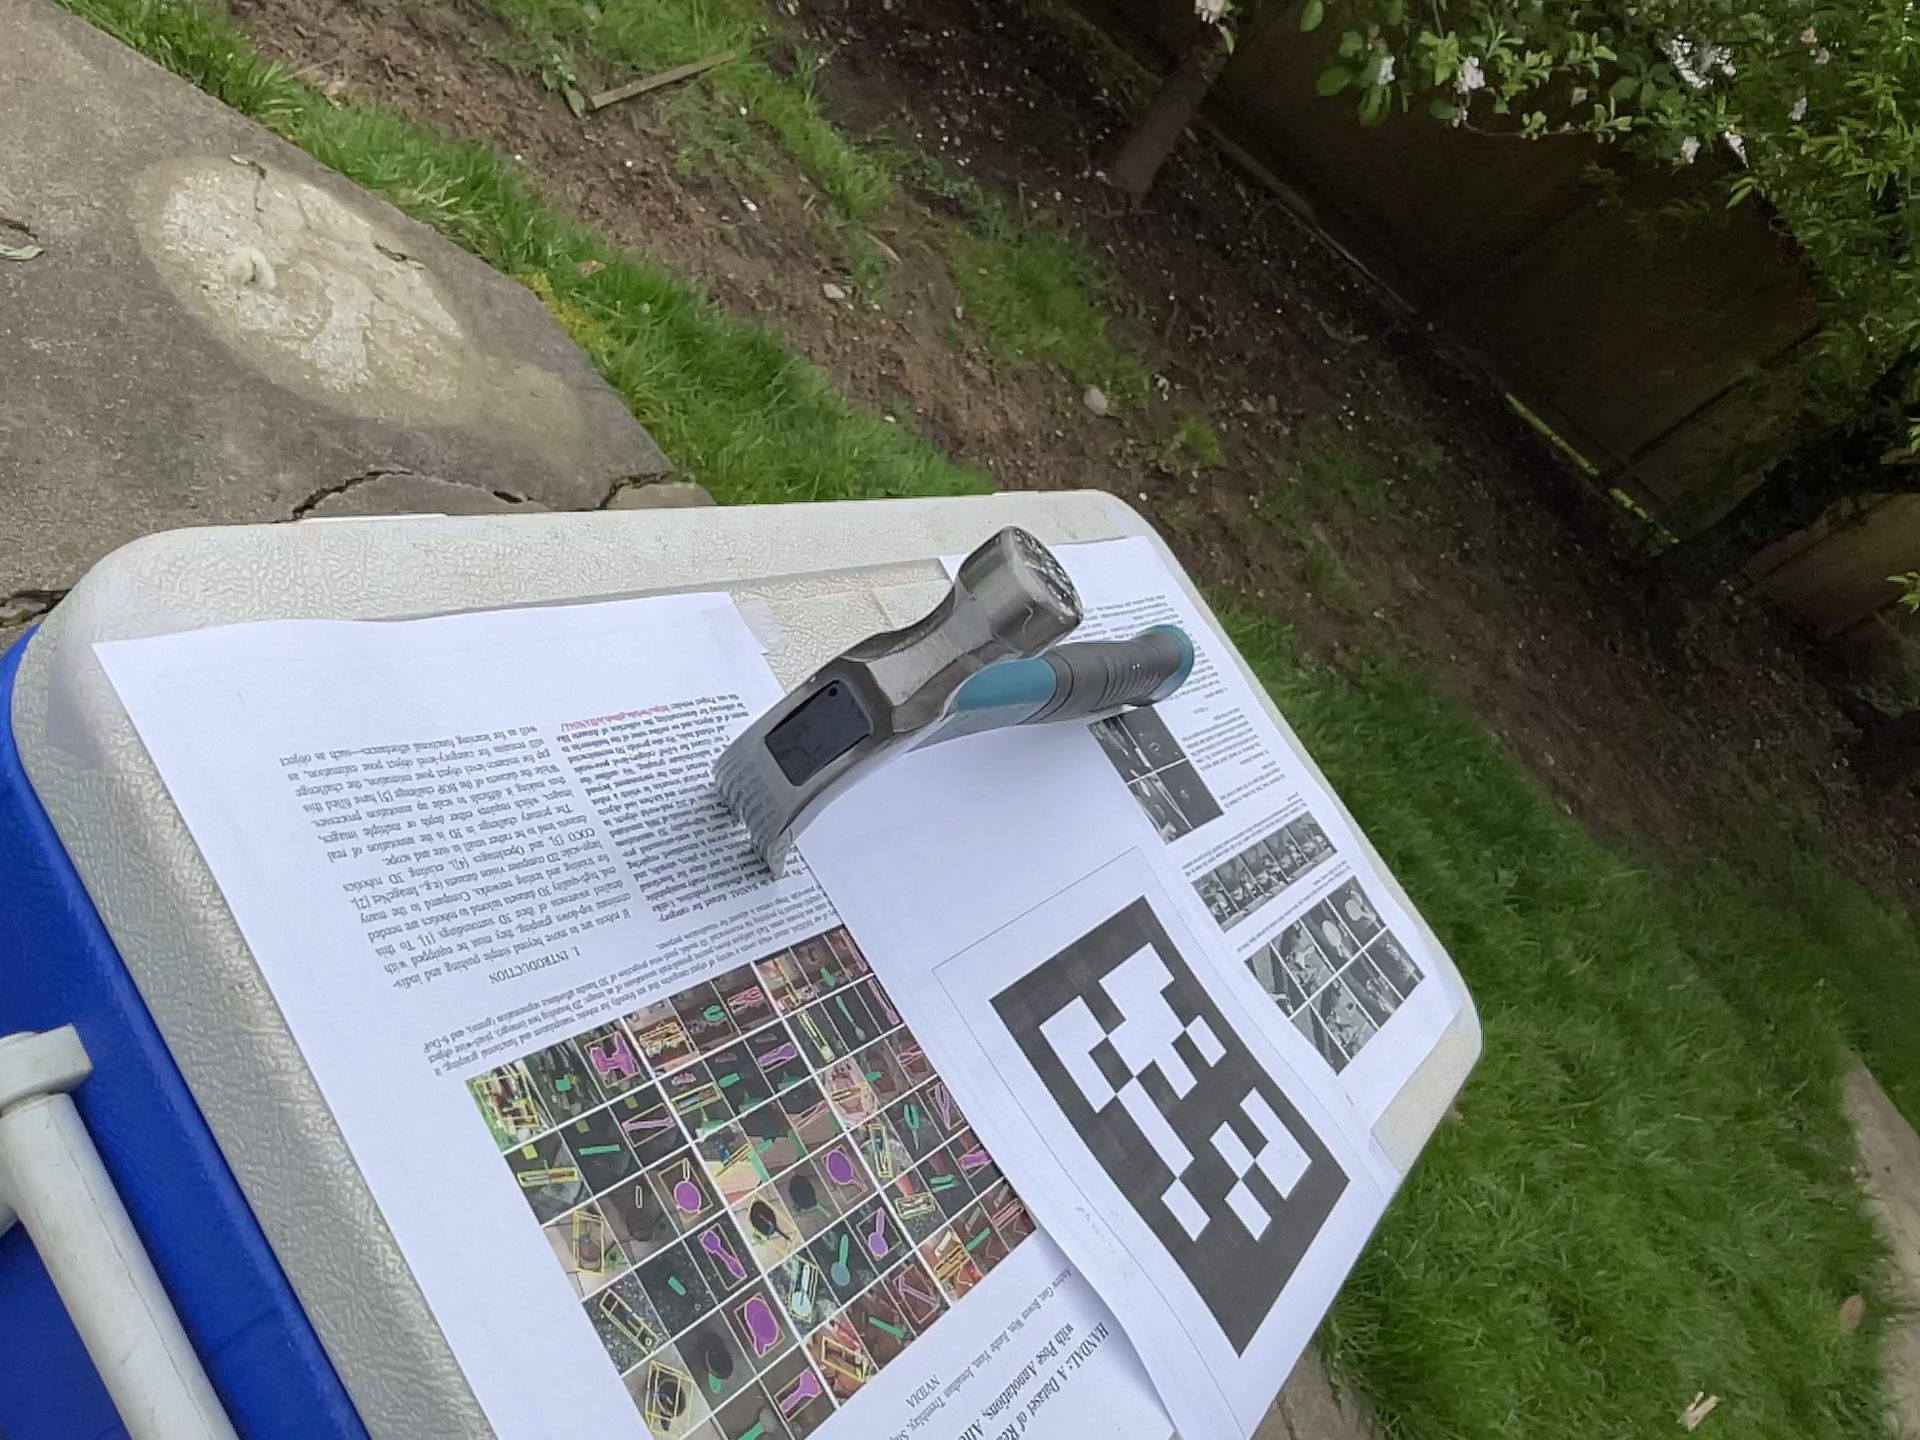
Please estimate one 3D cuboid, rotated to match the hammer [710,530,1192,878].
[{"bbox_3d":[0.025,-0.011,0.537,0.033,0.128,0.331,58,20,8],"label":"hammer"}]
